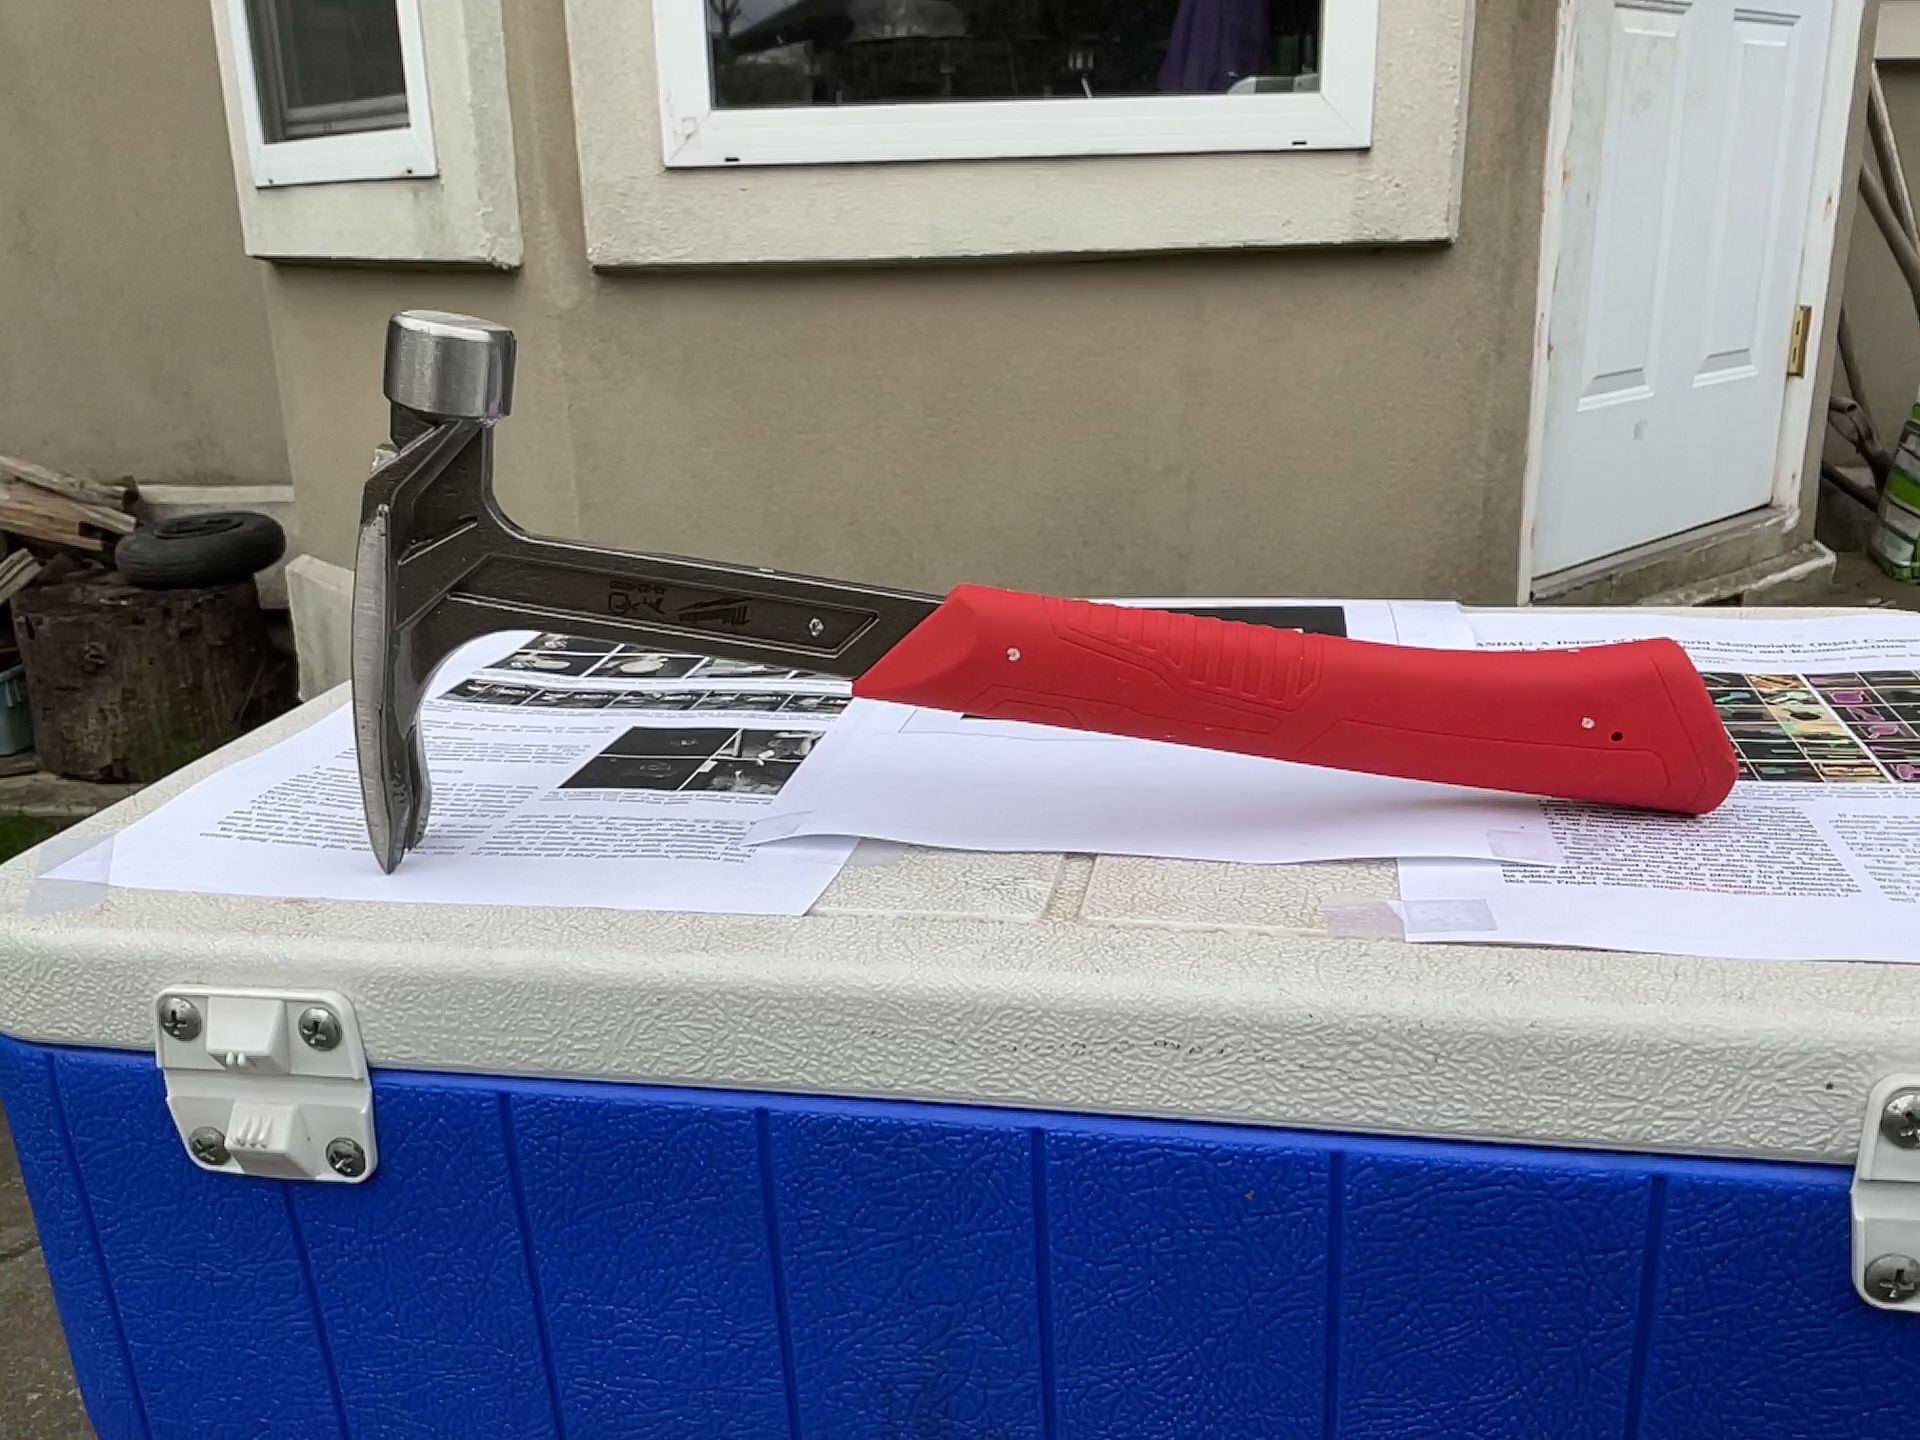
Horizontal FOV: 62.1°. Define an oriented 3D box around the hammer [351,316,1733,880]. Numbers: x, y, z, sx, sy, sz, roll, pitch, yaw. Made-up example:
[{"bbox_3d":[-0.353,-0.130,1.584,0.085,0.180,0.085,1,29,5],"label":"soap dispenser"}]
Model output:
[{"bbox_3d":[0.020,-0.005,0.427,0.359,0.149,0.037,9,18,-1],"label":"hammer"}]
